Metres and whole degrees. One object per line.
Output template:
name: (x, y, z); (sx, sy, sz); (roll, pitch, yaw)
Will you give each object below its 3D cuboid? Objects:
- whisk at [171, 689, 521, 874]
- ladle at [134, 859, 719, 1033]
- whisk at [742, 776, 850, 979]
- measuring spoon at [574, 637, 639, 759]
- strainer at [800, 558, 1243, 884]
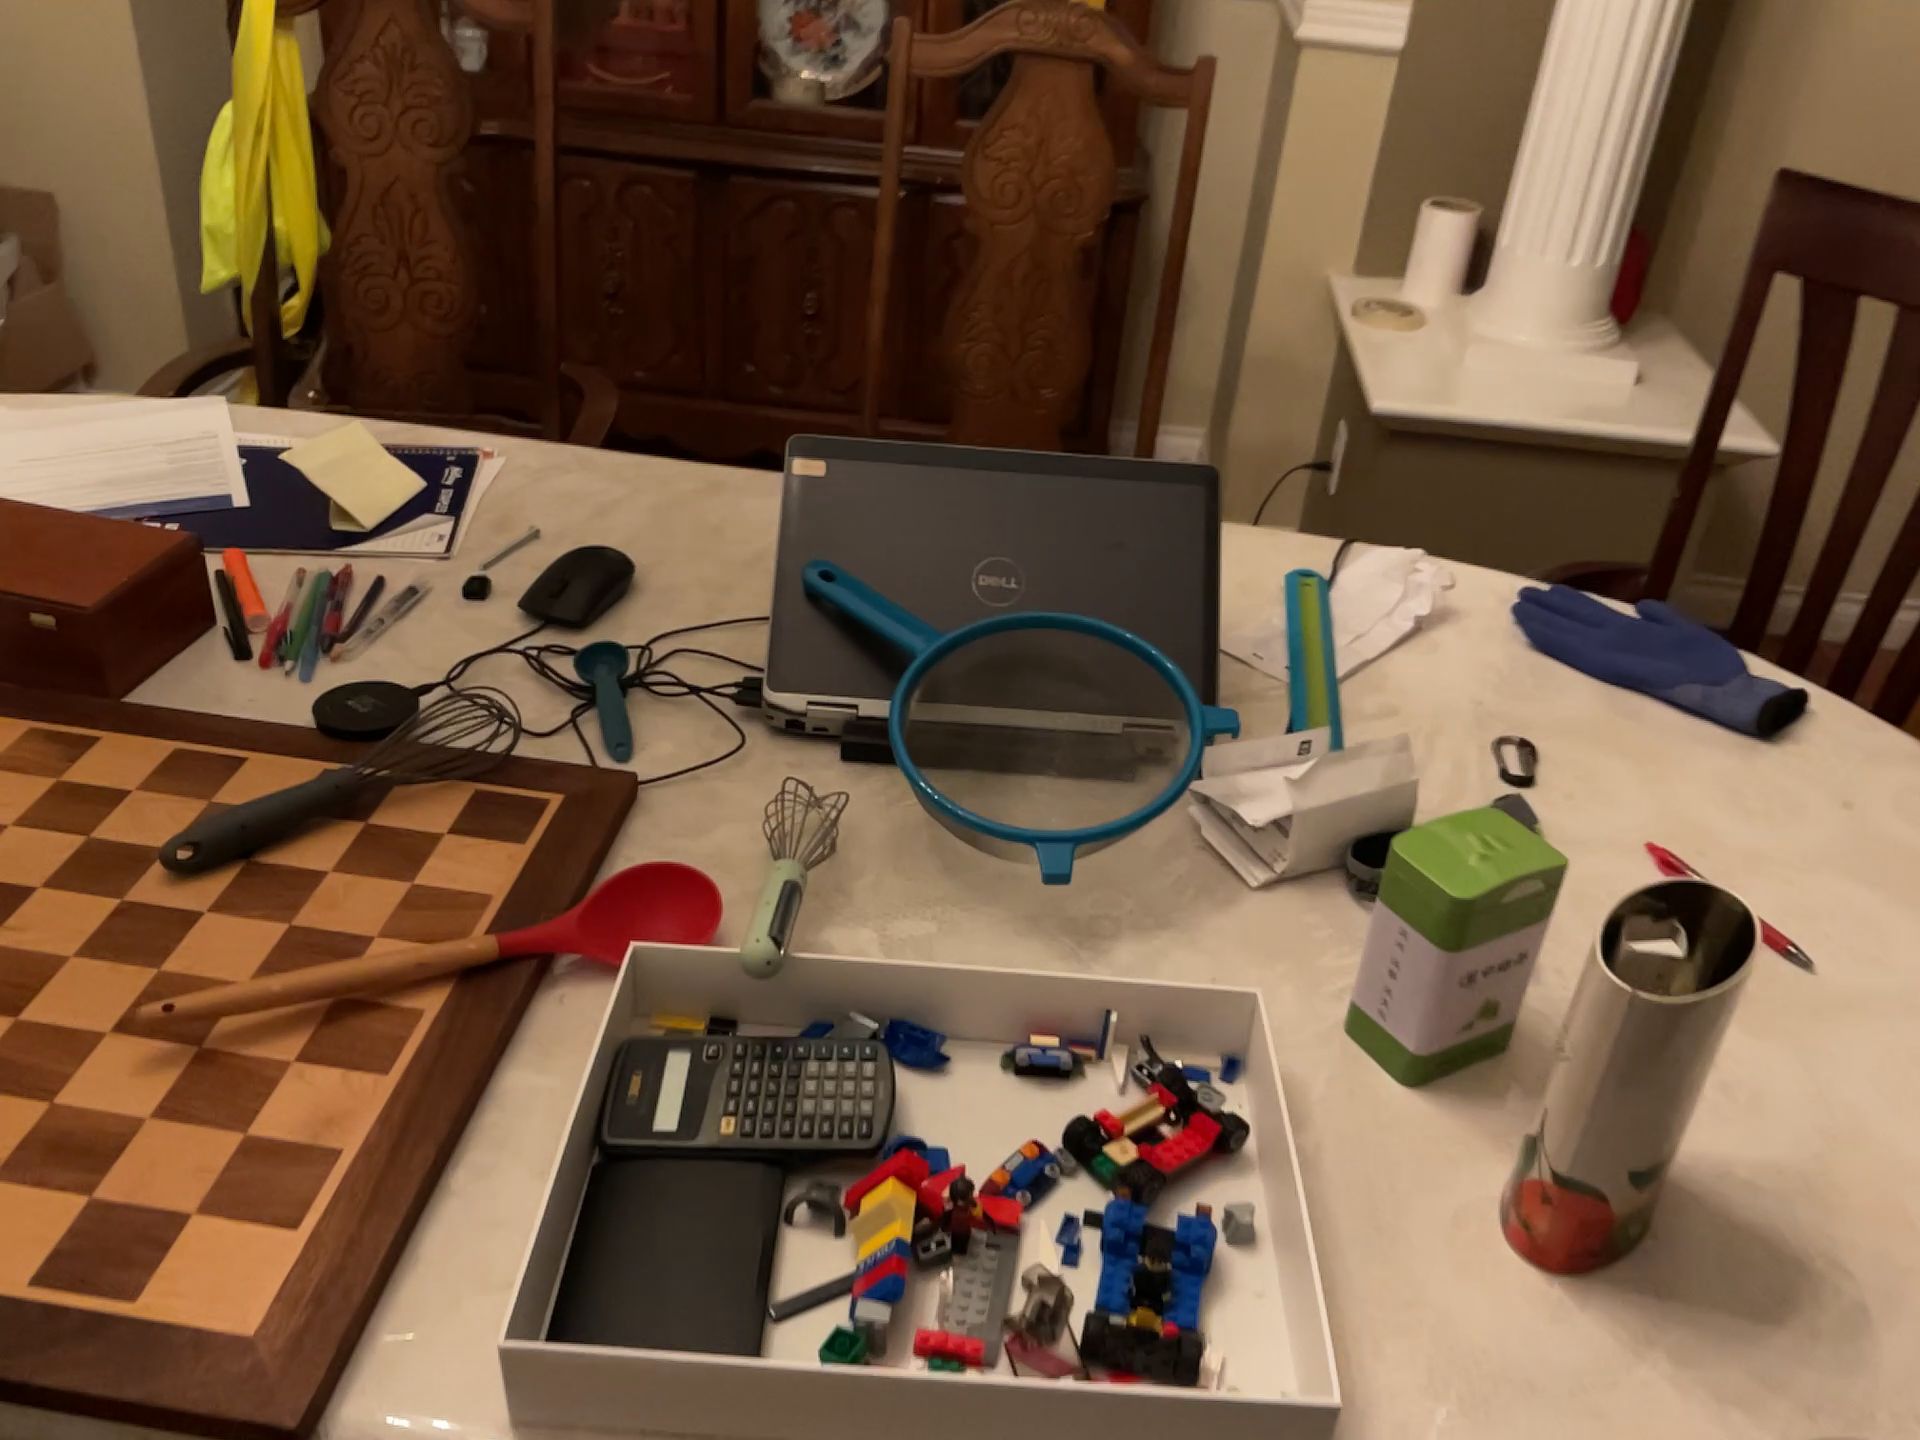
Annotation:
whisk: (-0.383, 0.040, 1.014); (0.238, 0.055, 0.055); (-29, 32, -36)
ladle: (-0.286, 0.133, 0.891); (0.315, 0.031, 0.069); (-9, 57, -30)
whisk: (-0.101, 0.091, 0.958); (0.059, 0.057, 0.246); (-24, 16, 9)
measuring spoon: (-0.253, -0.012, 1.165); (0.042, 0.021, 0.129); (-13, 48, -14)
strainer: (0.011, -0.004, 1.107); (0.341, 0.095, 0.211); (34, 55, 30)
